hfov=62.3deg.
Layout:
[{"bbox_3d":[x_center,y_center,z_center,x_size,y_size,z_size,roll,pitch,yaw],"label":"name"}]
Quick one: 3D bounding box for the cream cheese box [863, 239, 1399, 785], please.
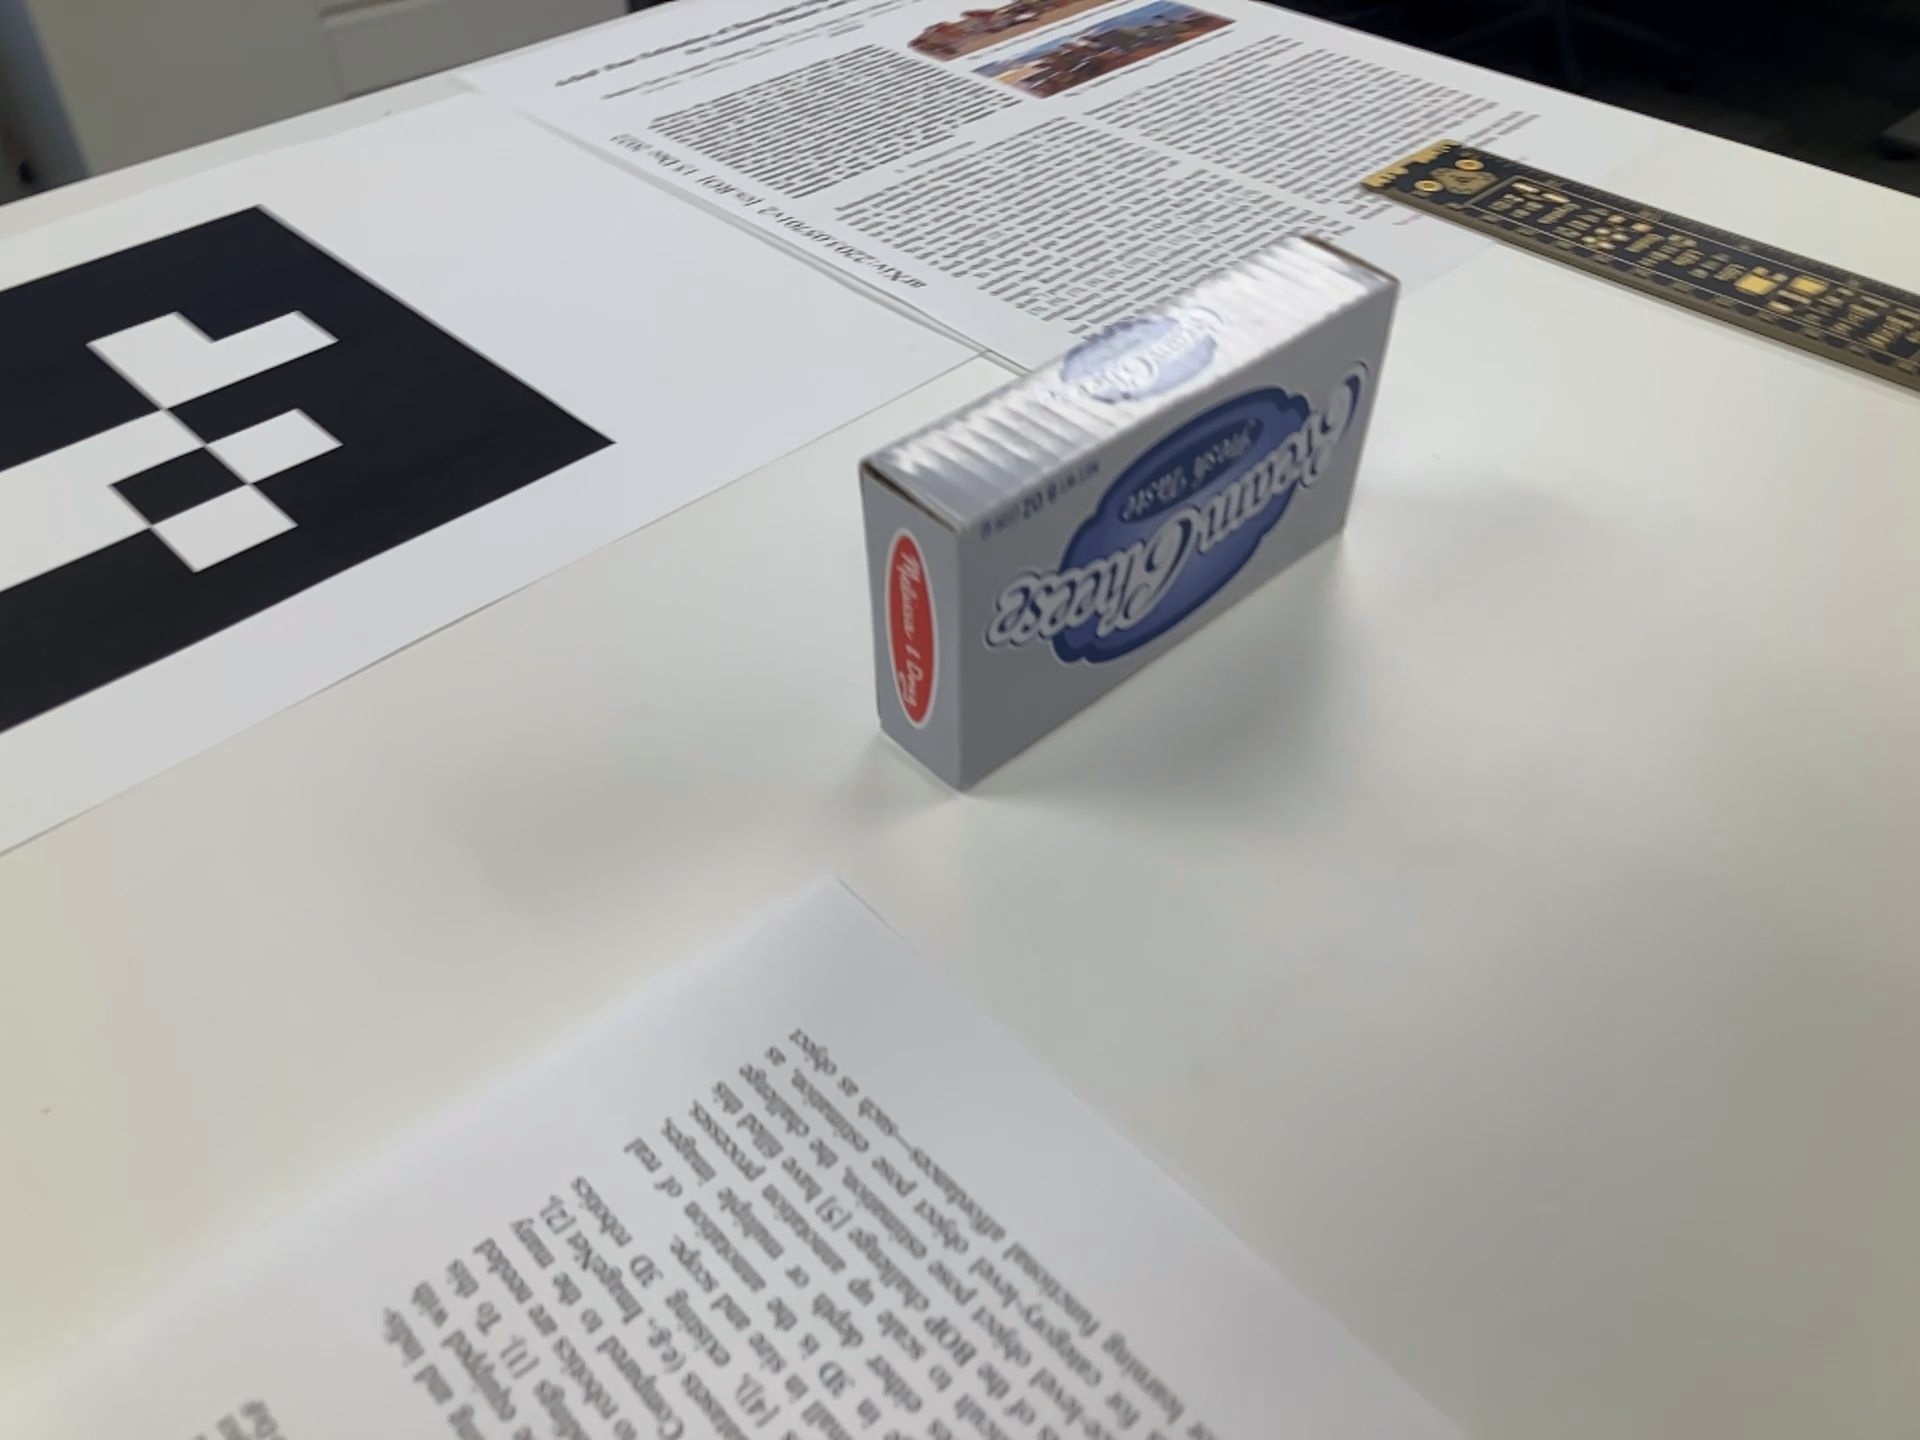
[{"bbox_3d":[0.030,-0.037,0.266,0.104,0.053,0.024,-33,53,-30],"label":"cream cheese box"}]
